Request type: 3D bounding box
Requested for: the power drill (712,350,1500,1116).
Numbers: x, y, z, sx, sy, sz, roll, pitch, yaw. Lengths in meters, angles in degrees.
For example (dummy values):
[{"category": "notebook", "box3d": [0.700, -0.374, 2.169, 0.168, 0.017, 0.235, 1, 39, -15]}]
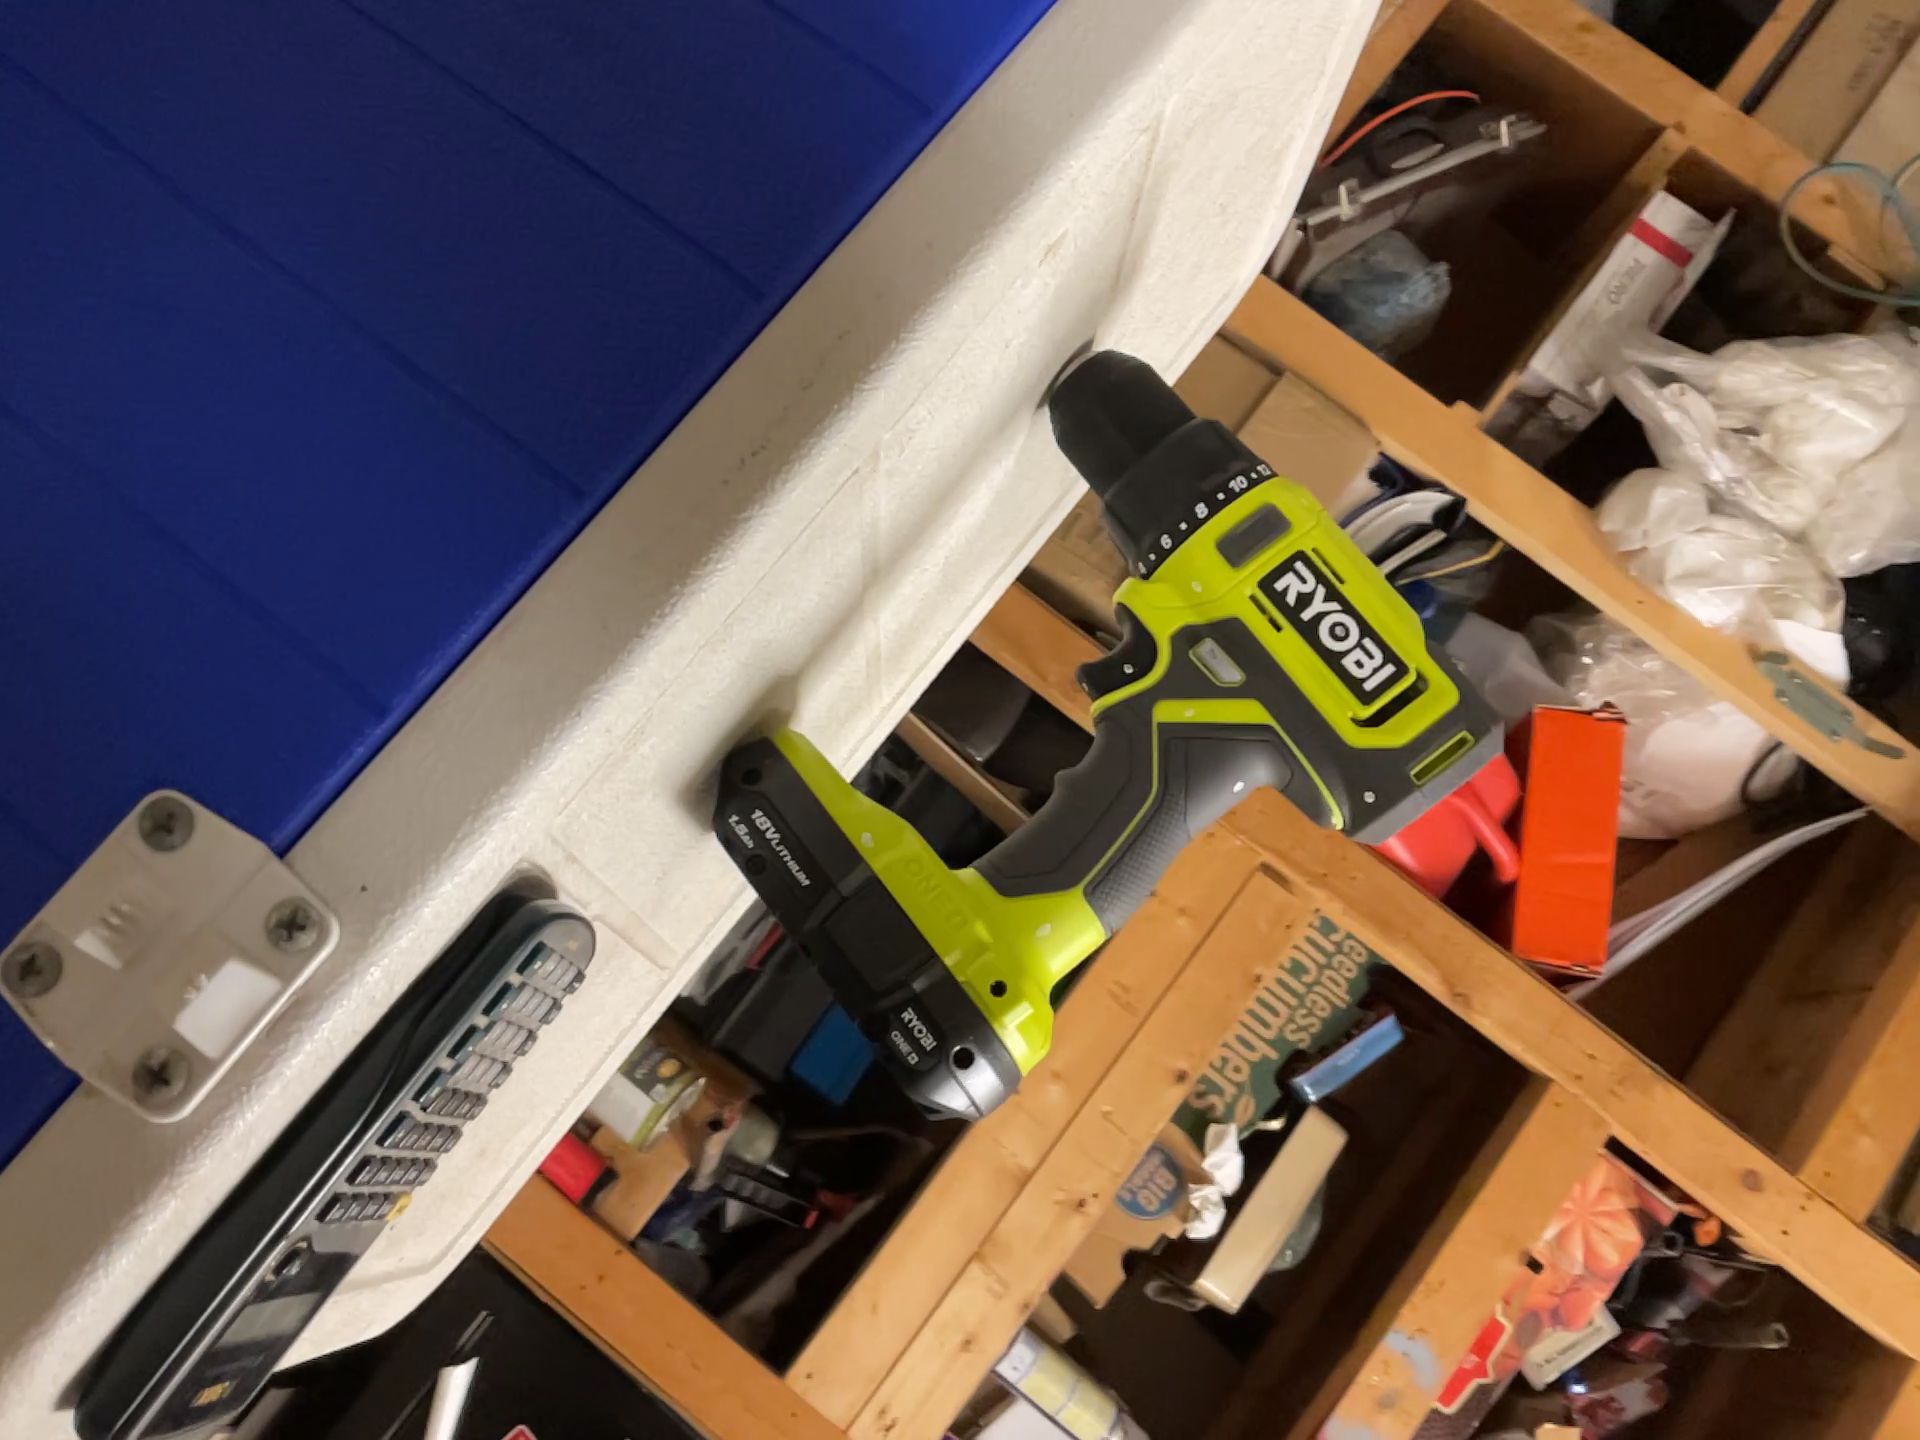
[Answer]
[{"category": "power drill", "box3d": [0.035, 0.000, 0.529, 0.228, 0.190, 0.080, -37, 170, -9]}]
